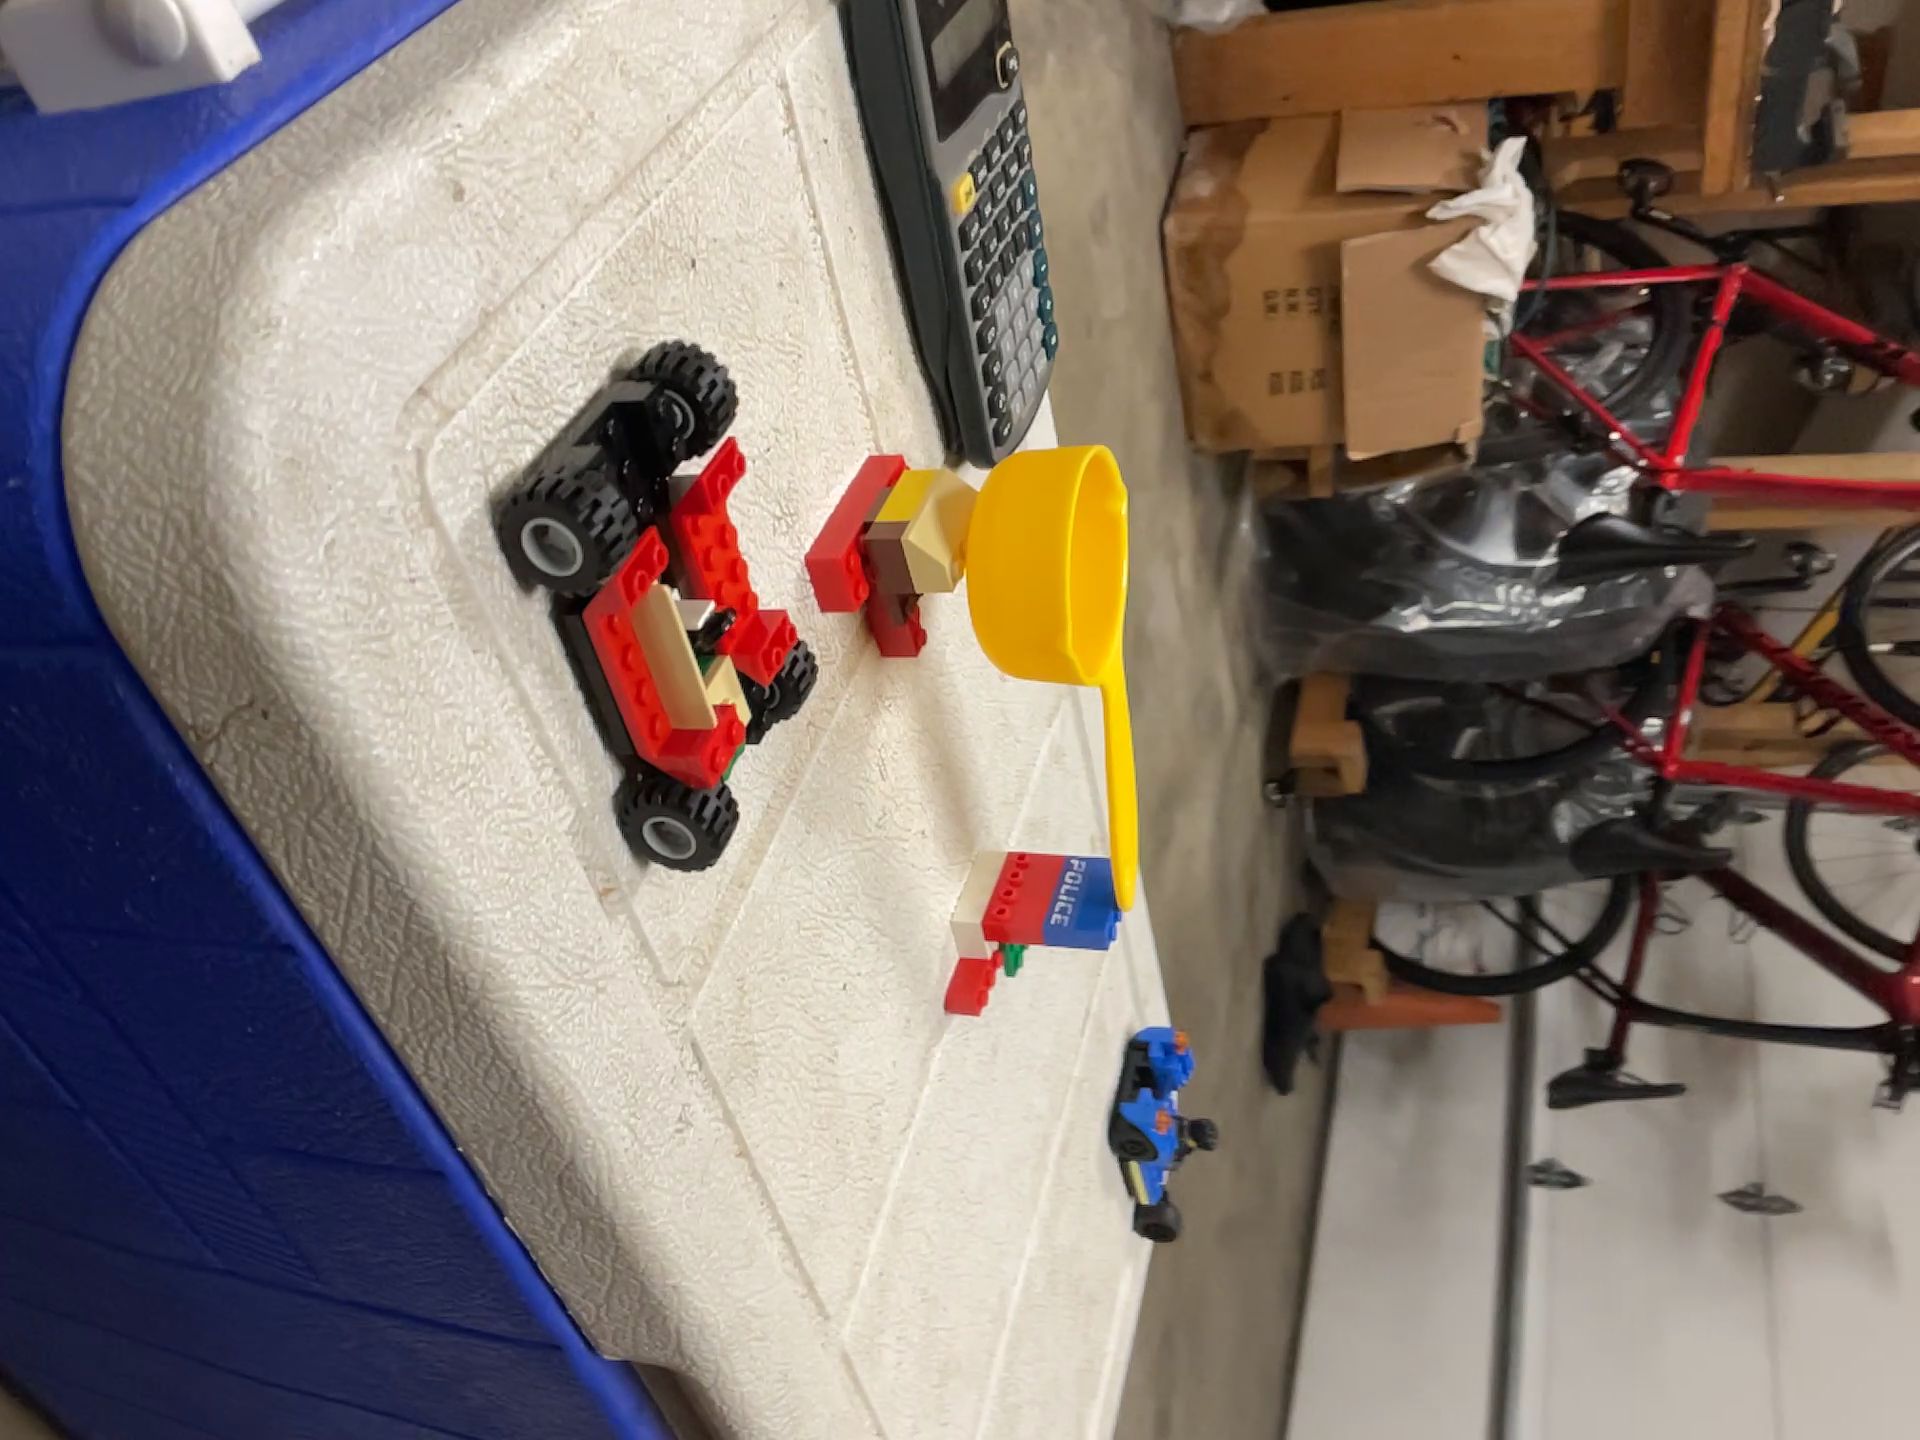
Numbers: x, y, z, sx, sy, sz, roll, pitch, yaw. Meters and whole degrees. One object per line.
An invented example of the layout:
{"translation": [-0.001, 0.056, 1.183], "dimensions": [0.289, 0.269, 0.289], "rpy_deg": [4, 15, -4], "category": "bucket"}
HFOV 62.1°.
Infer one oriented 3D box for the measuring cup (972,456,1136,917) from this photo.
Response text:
{"translation": [0.029, -0.001, 0.436], "dimensions": [0.062, 0.029, 0.156], "rpy_deg": [-67, 155, -44], "category": "measuring cup"}
